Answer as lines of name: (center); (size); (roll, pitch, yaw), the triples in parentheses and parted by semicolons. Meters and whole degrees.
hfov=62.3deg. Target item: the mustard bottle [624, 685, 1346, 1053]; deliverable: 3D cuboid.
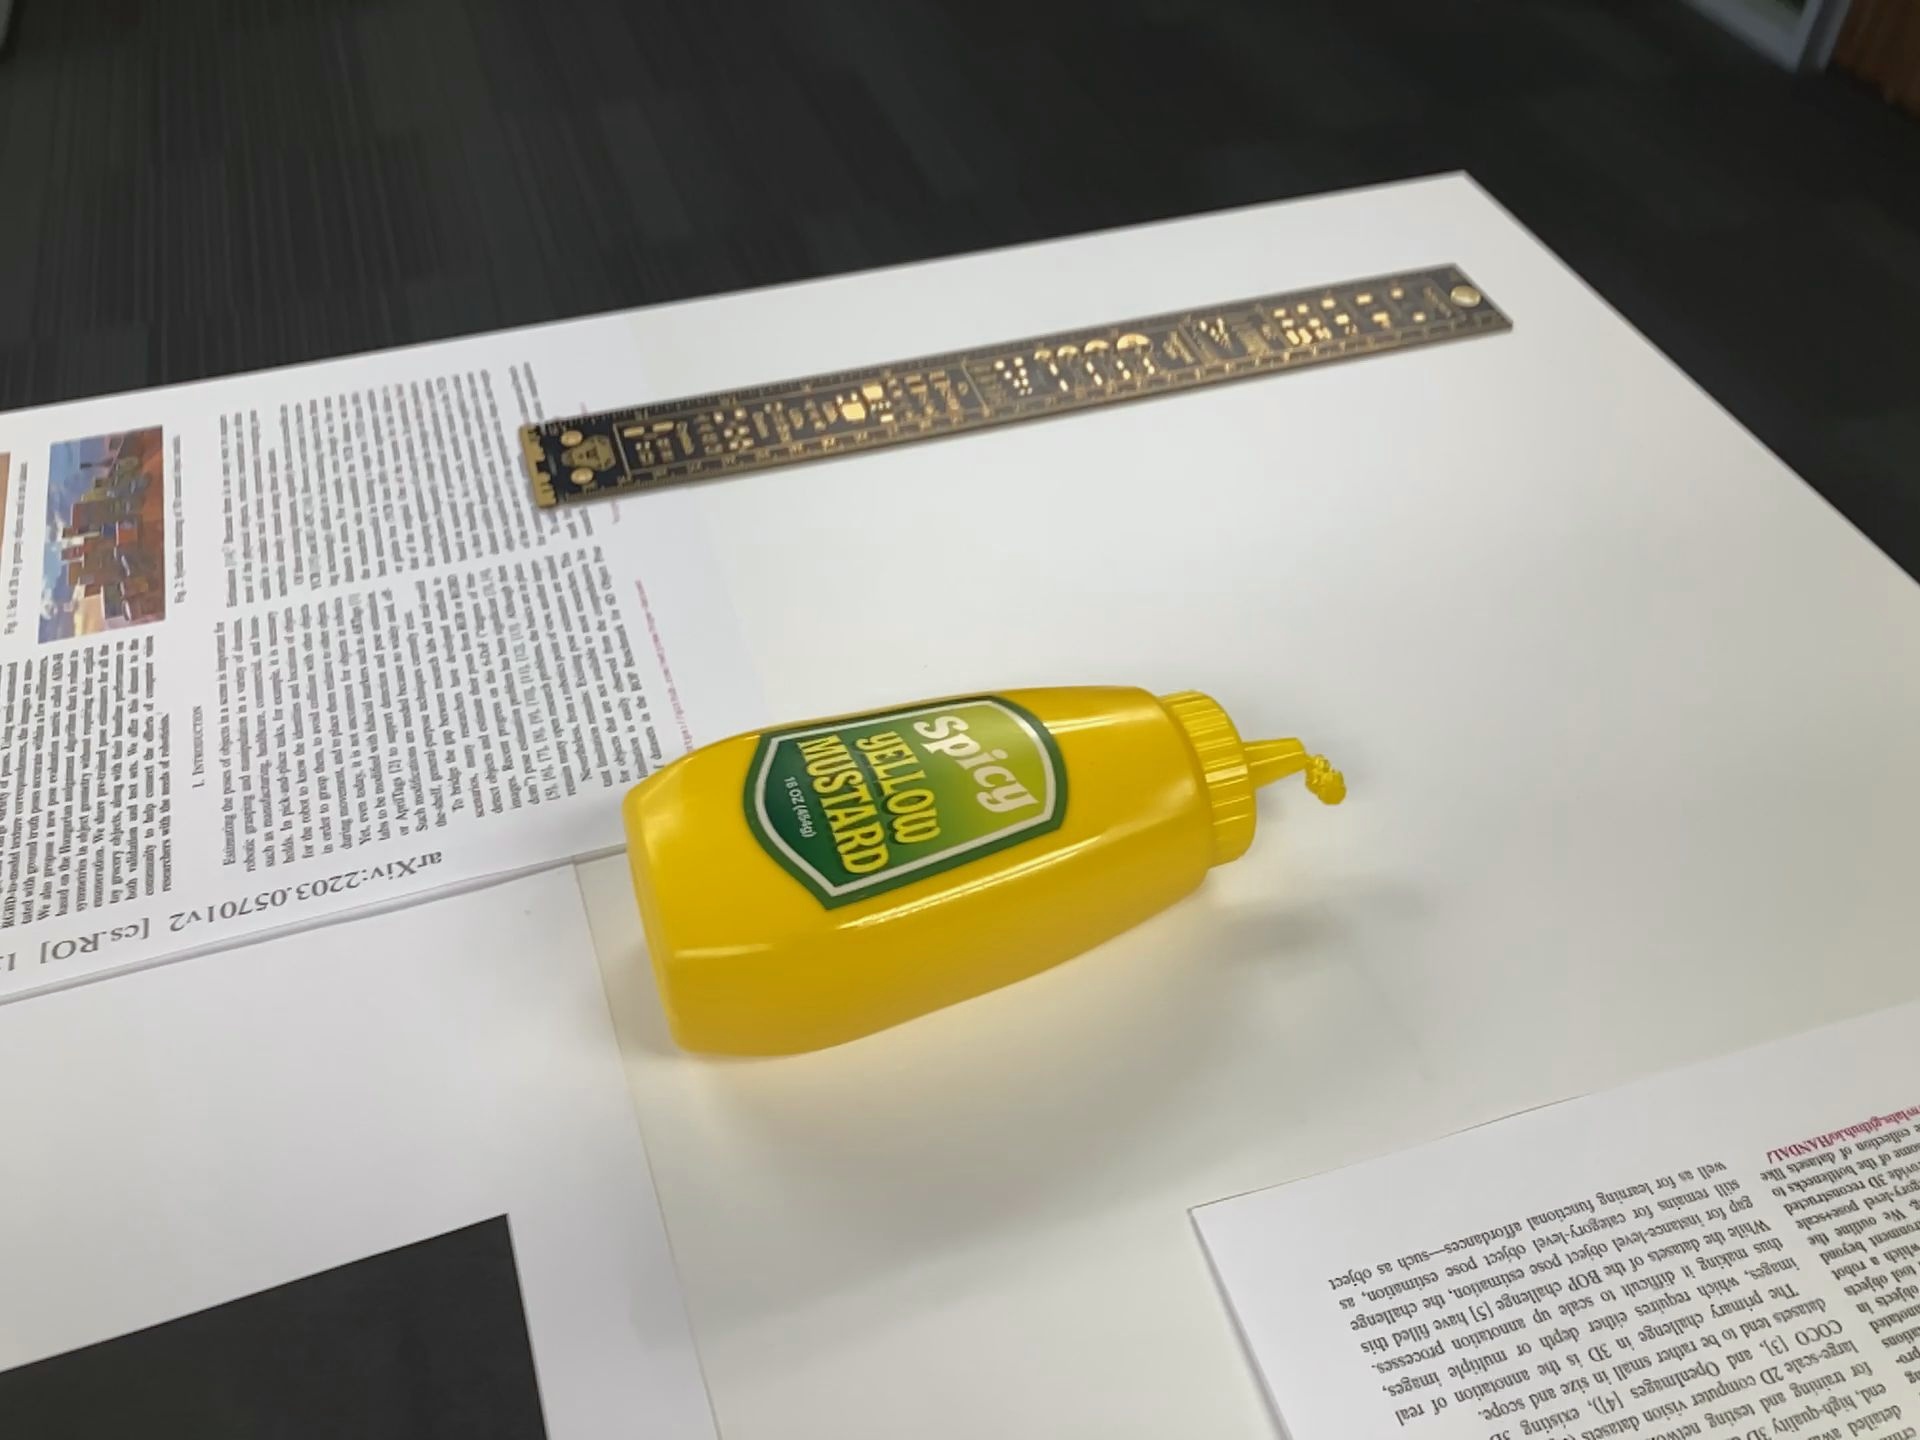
mustard bottle: (0.011, 0.022, 0.343); (0.160, 0.049, 0.065); (-14, 50, -15)
